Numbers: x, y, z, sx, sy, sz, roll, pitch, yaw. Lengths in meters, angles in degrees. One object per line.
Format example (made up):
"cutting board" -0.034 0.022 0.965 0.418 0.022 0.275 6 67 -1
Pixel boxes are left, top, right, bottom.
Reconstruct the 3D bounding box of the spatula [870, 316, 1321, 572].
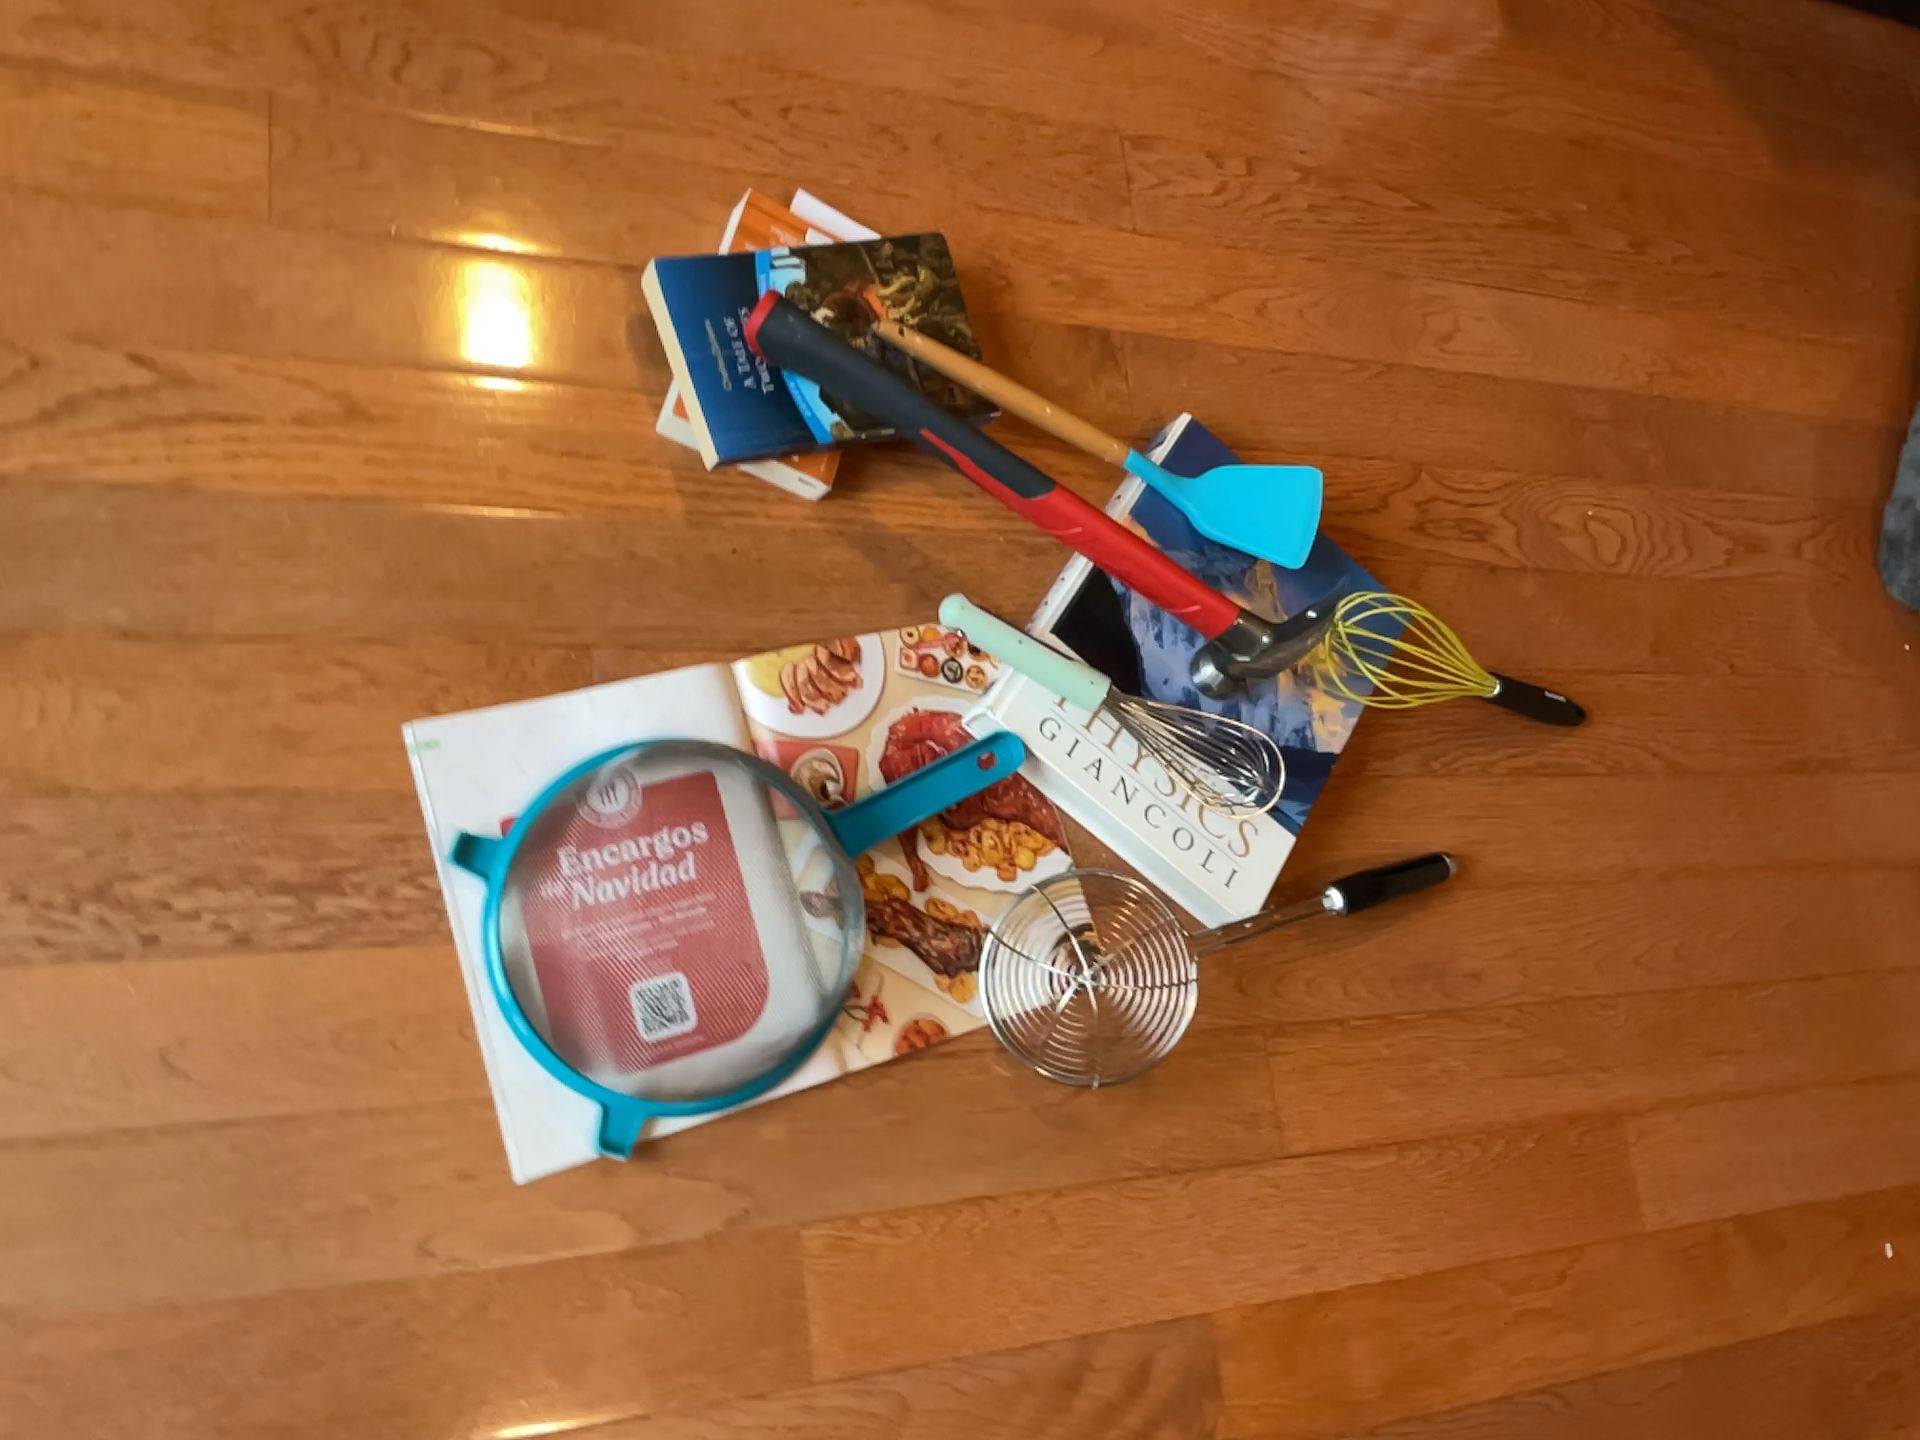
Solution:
"spatula" 0.088 -0.187 1.030 0.317 0.044 0.082 24 68 -17

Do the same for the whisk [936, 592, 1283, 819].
"whisk" 0.093 -0.012 0.984 0.246 0.058 0.059 30 95 -9

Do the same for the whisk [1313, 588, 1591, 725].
"whisk" 0.355 -0.029 1.123 0.311 0.067 0.080 12 54 -37

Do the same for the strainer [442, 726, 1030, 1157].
"strainer" -0.091 0.075 0.870 0.340 0.095 0.211 -26 86 -22

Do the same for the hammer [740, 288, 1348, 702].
"hammer" 0.045 -0.144 0.952 0.386 0.143 0.038 32 61 -10

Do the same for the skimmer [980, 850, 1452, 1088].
"skimmer" 0.179 0.135 1.027 0.363 0.090 0.127 -10 77 -38
